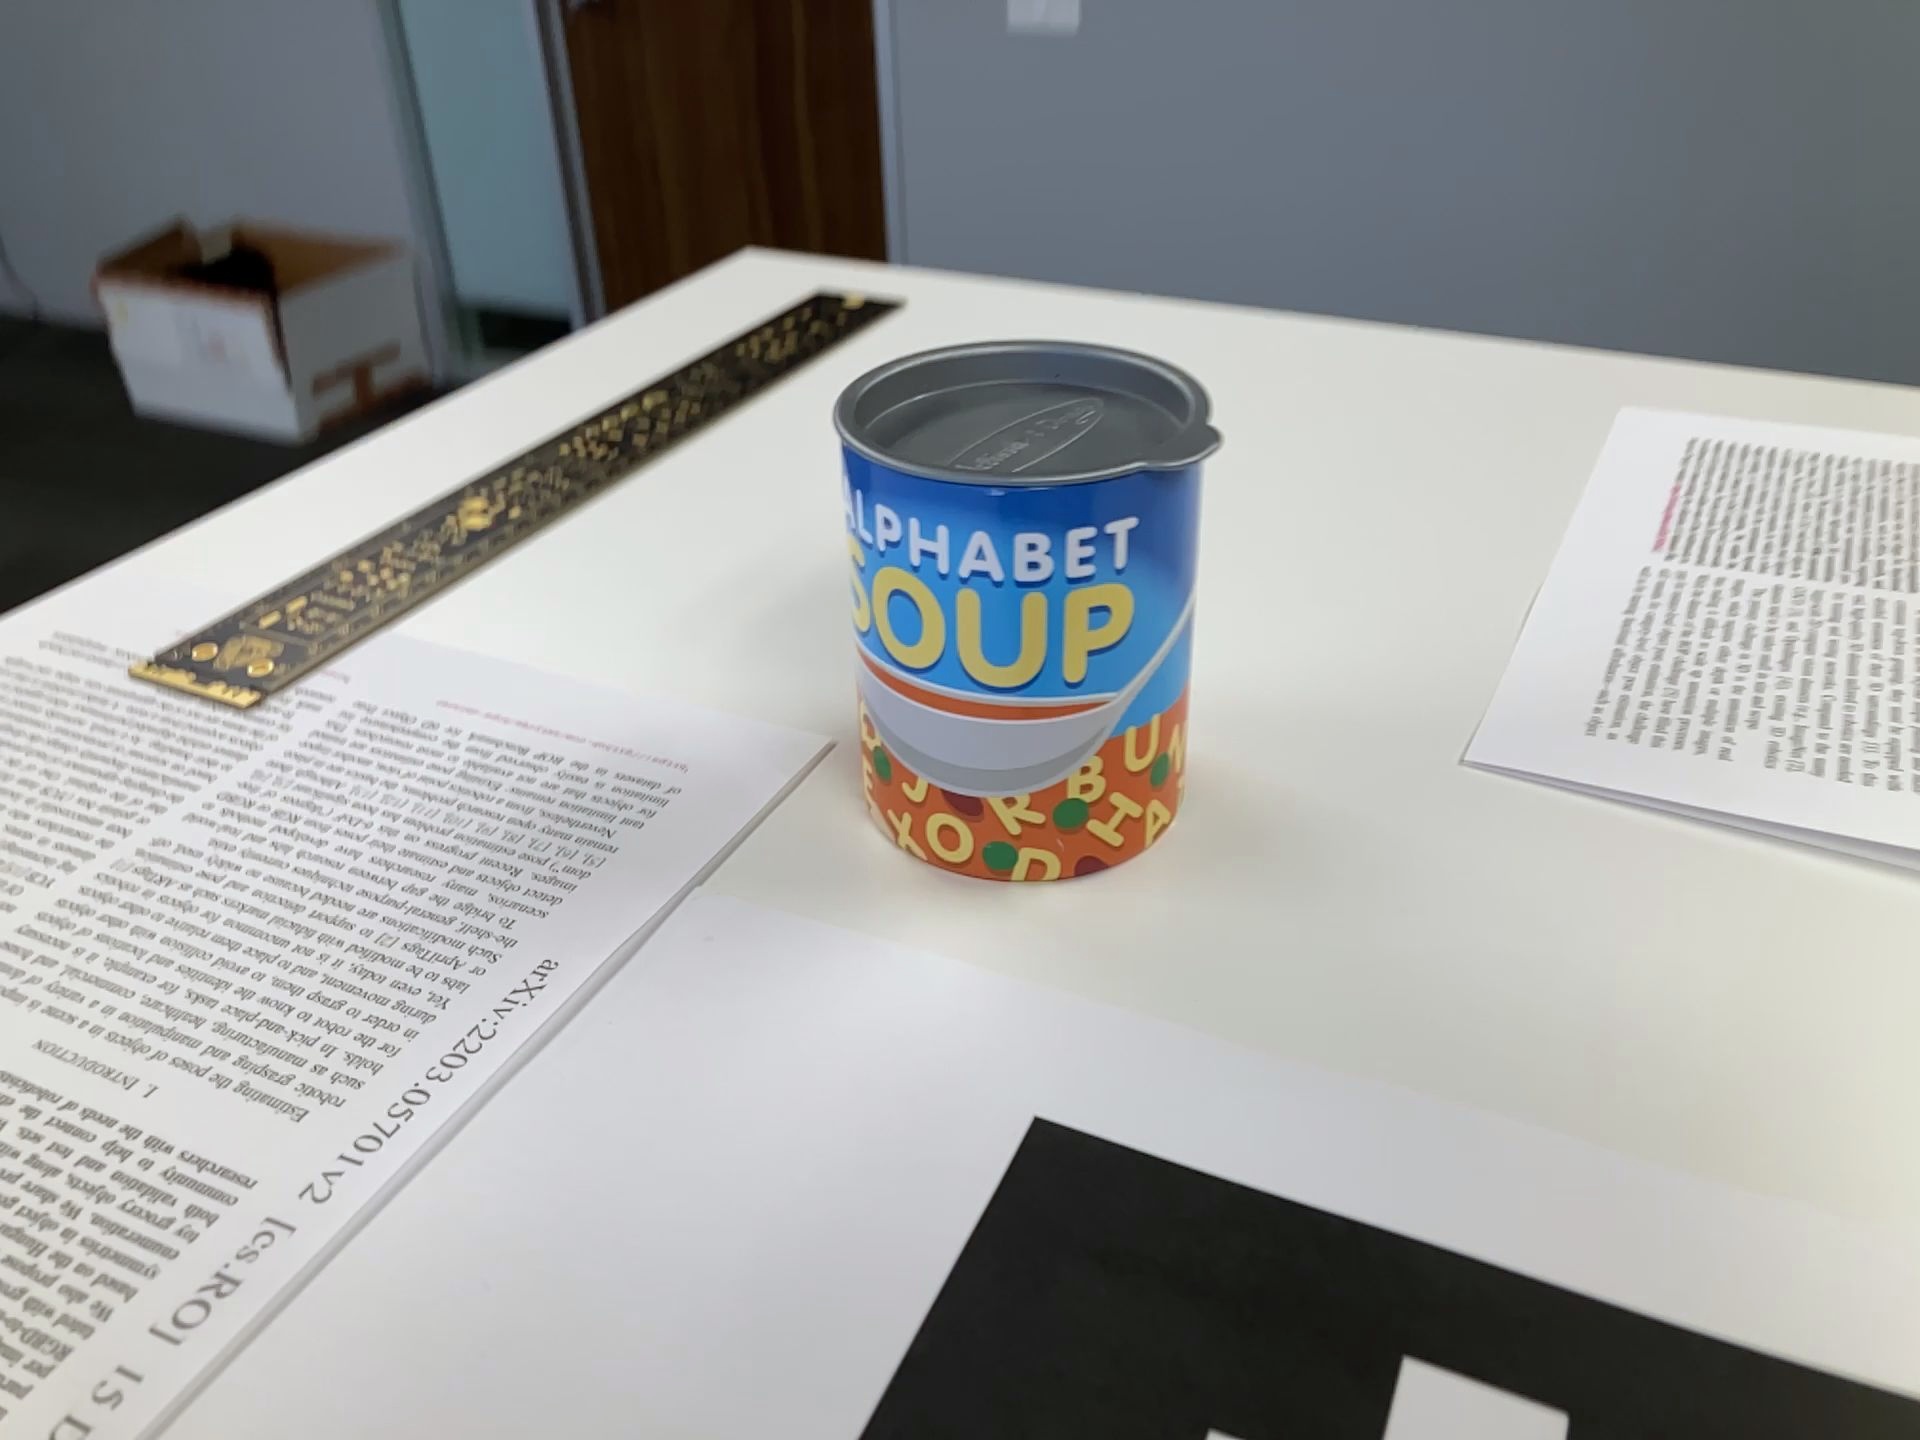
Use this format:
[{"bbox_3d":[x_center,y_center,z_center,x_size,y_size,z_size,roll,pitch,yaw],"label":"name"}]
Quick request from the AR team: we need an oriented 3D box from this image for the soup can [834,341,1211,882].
[{"bbox_3d":[0.011,-0.020,0.300,0.071,0.084,0.071,-1,31,1],"label":"soup can"}]
